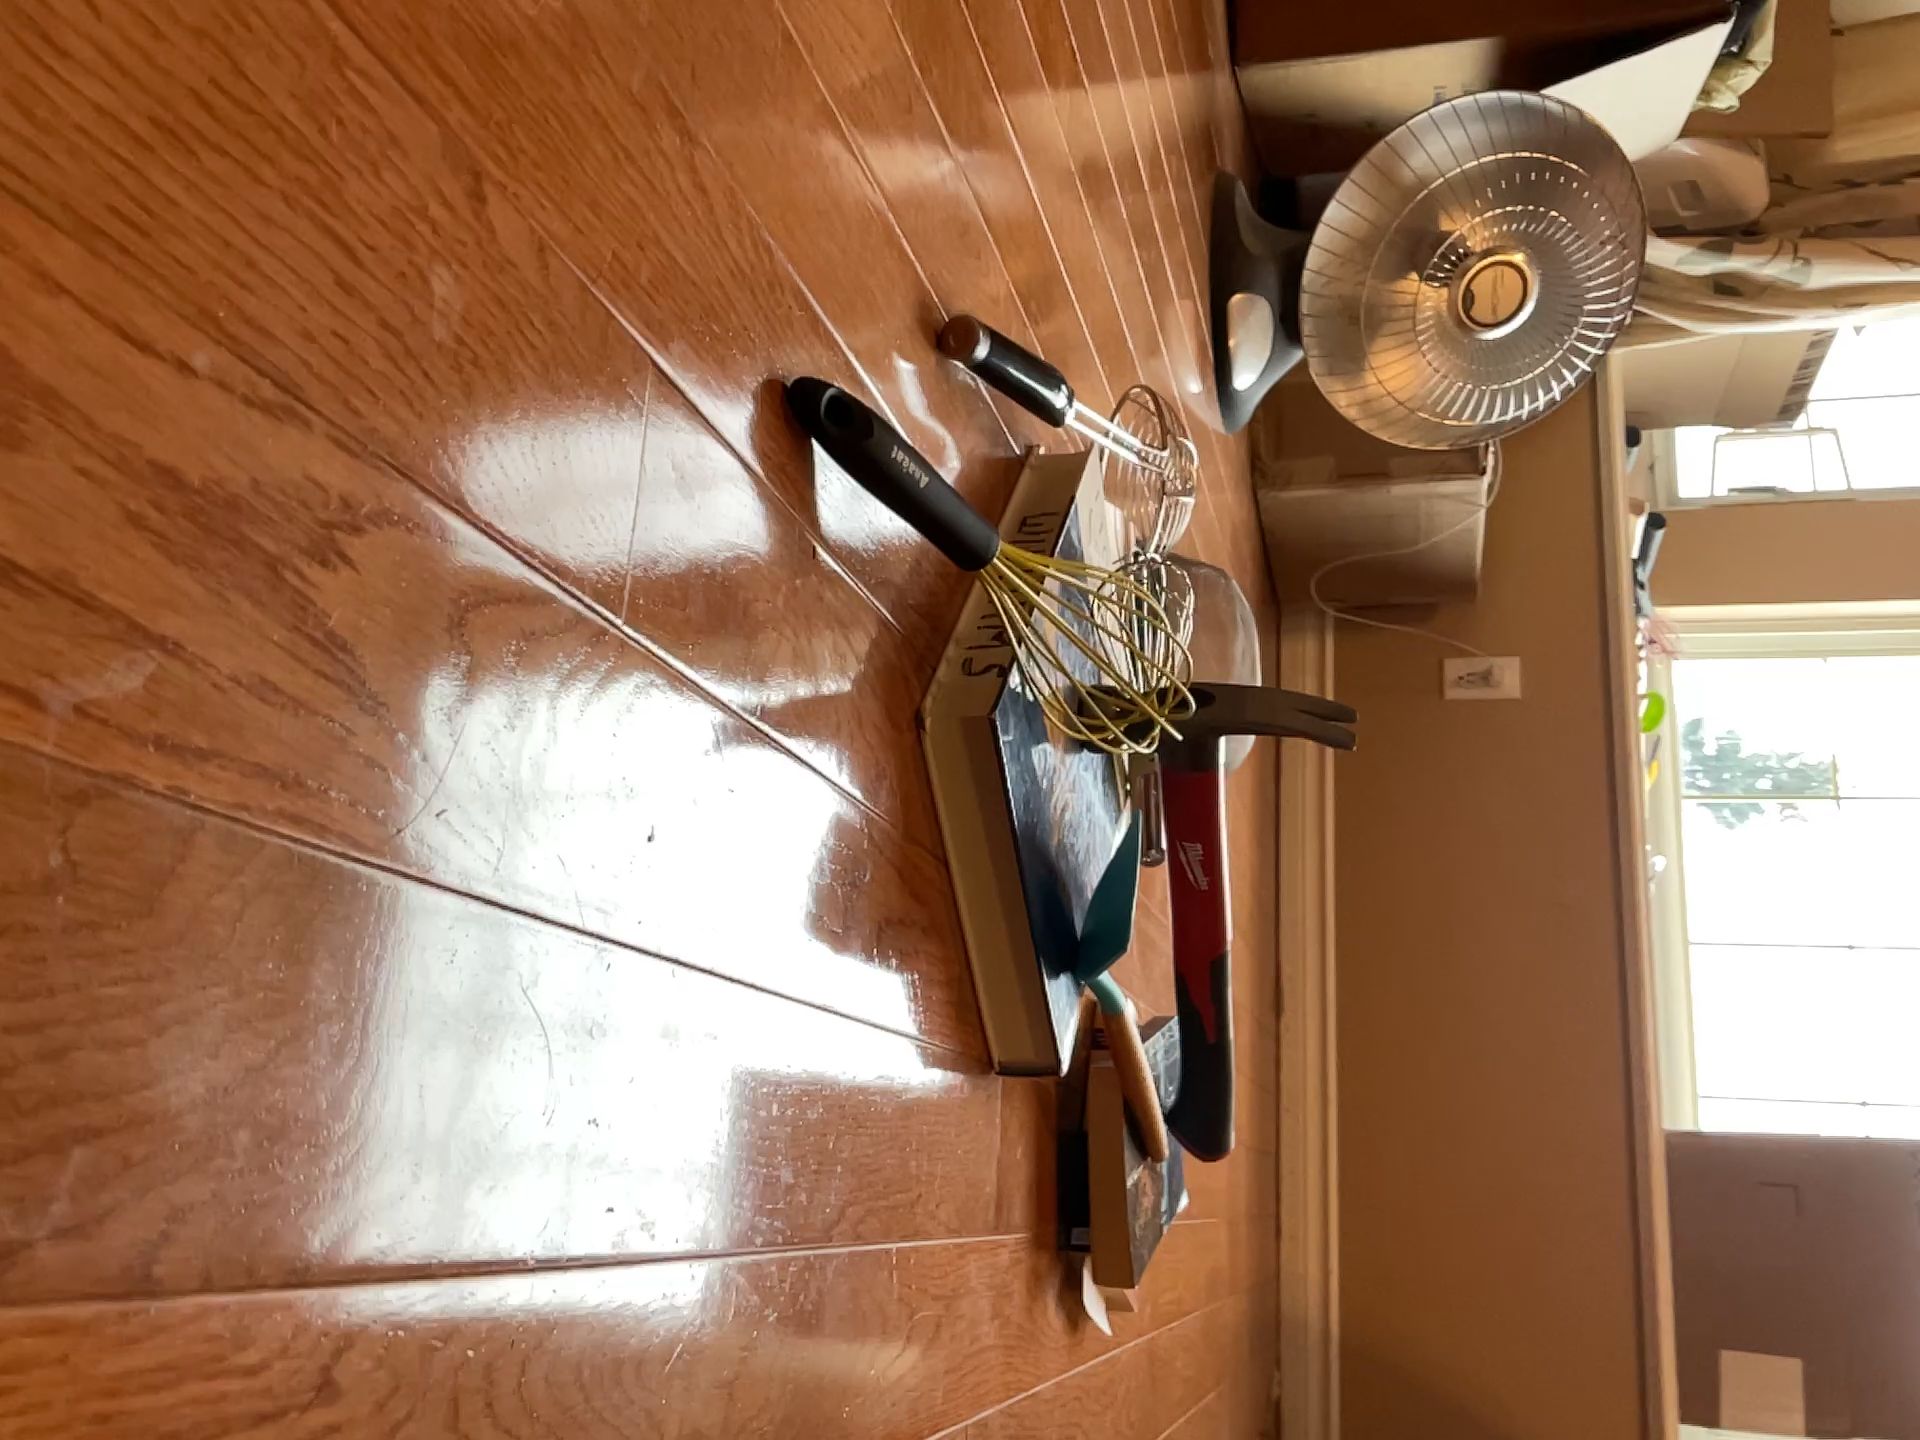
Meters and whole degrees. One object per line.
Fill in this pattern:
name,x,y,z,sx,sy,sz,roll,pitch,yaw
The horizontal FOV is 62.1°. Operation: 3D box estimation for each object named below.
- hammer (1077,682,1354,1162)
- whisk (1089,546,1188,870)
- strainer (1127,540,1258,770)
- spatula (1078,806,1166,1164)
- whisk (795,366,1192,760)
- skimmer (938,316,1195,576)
hammer,0.158,0.137,0.948,0.038,0.143,0.386,-69,156,-47
whisk,0.109,0.002,0.941,0.059,0.058,0.246,-120,-164,-47
strainer,0.172,-0.026,1.164,0.340,0.095,0.211,-41,129,-79
spatula,0.098,0.171,0.878,0.317,0.044,0.083,71,22,-47
whisk,0.021,-0.060,0.665,0.311,0.067,0.080,37,68,-53
skimmer,0.053,-0.159,0.902,0.363,0.090,0.127,10,81,-63
